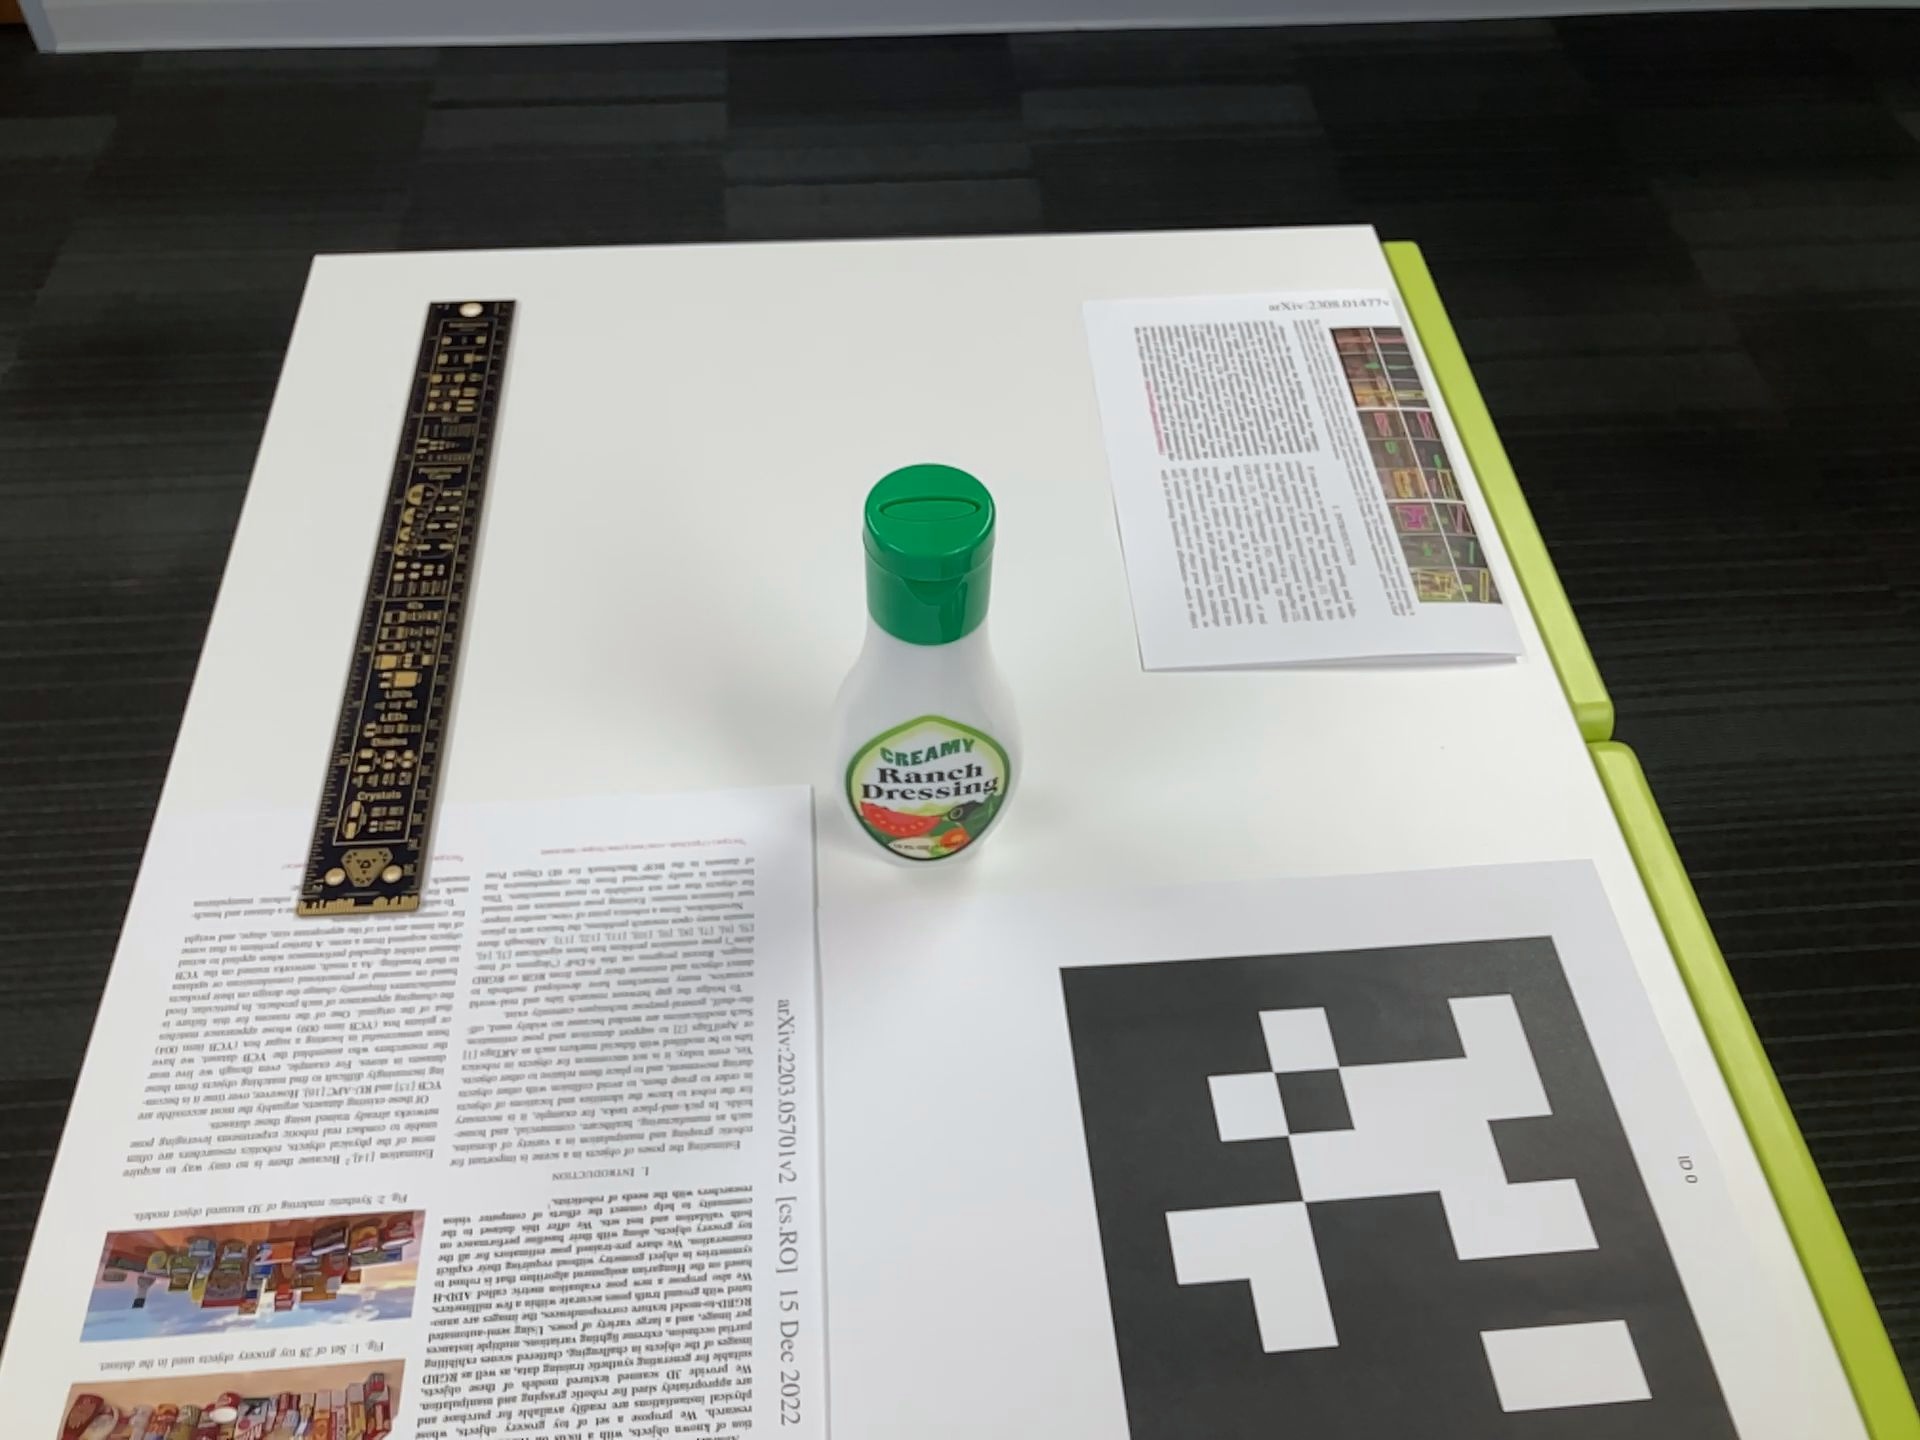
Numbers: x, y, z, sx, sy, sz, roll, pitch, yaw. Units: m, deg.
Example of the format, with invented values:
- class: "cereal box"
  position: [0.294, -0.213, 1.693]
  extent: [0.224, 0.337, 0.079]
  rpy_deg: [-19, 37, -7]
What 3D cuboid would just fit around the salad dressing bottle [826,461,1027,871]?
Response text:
- class: "salad dressing bottle"
  position: [-0.010, -0.012, 0.483]
  extent: [0.064, 0.147, 0.044]
  rpy_deg: [-3, 51, -3]
